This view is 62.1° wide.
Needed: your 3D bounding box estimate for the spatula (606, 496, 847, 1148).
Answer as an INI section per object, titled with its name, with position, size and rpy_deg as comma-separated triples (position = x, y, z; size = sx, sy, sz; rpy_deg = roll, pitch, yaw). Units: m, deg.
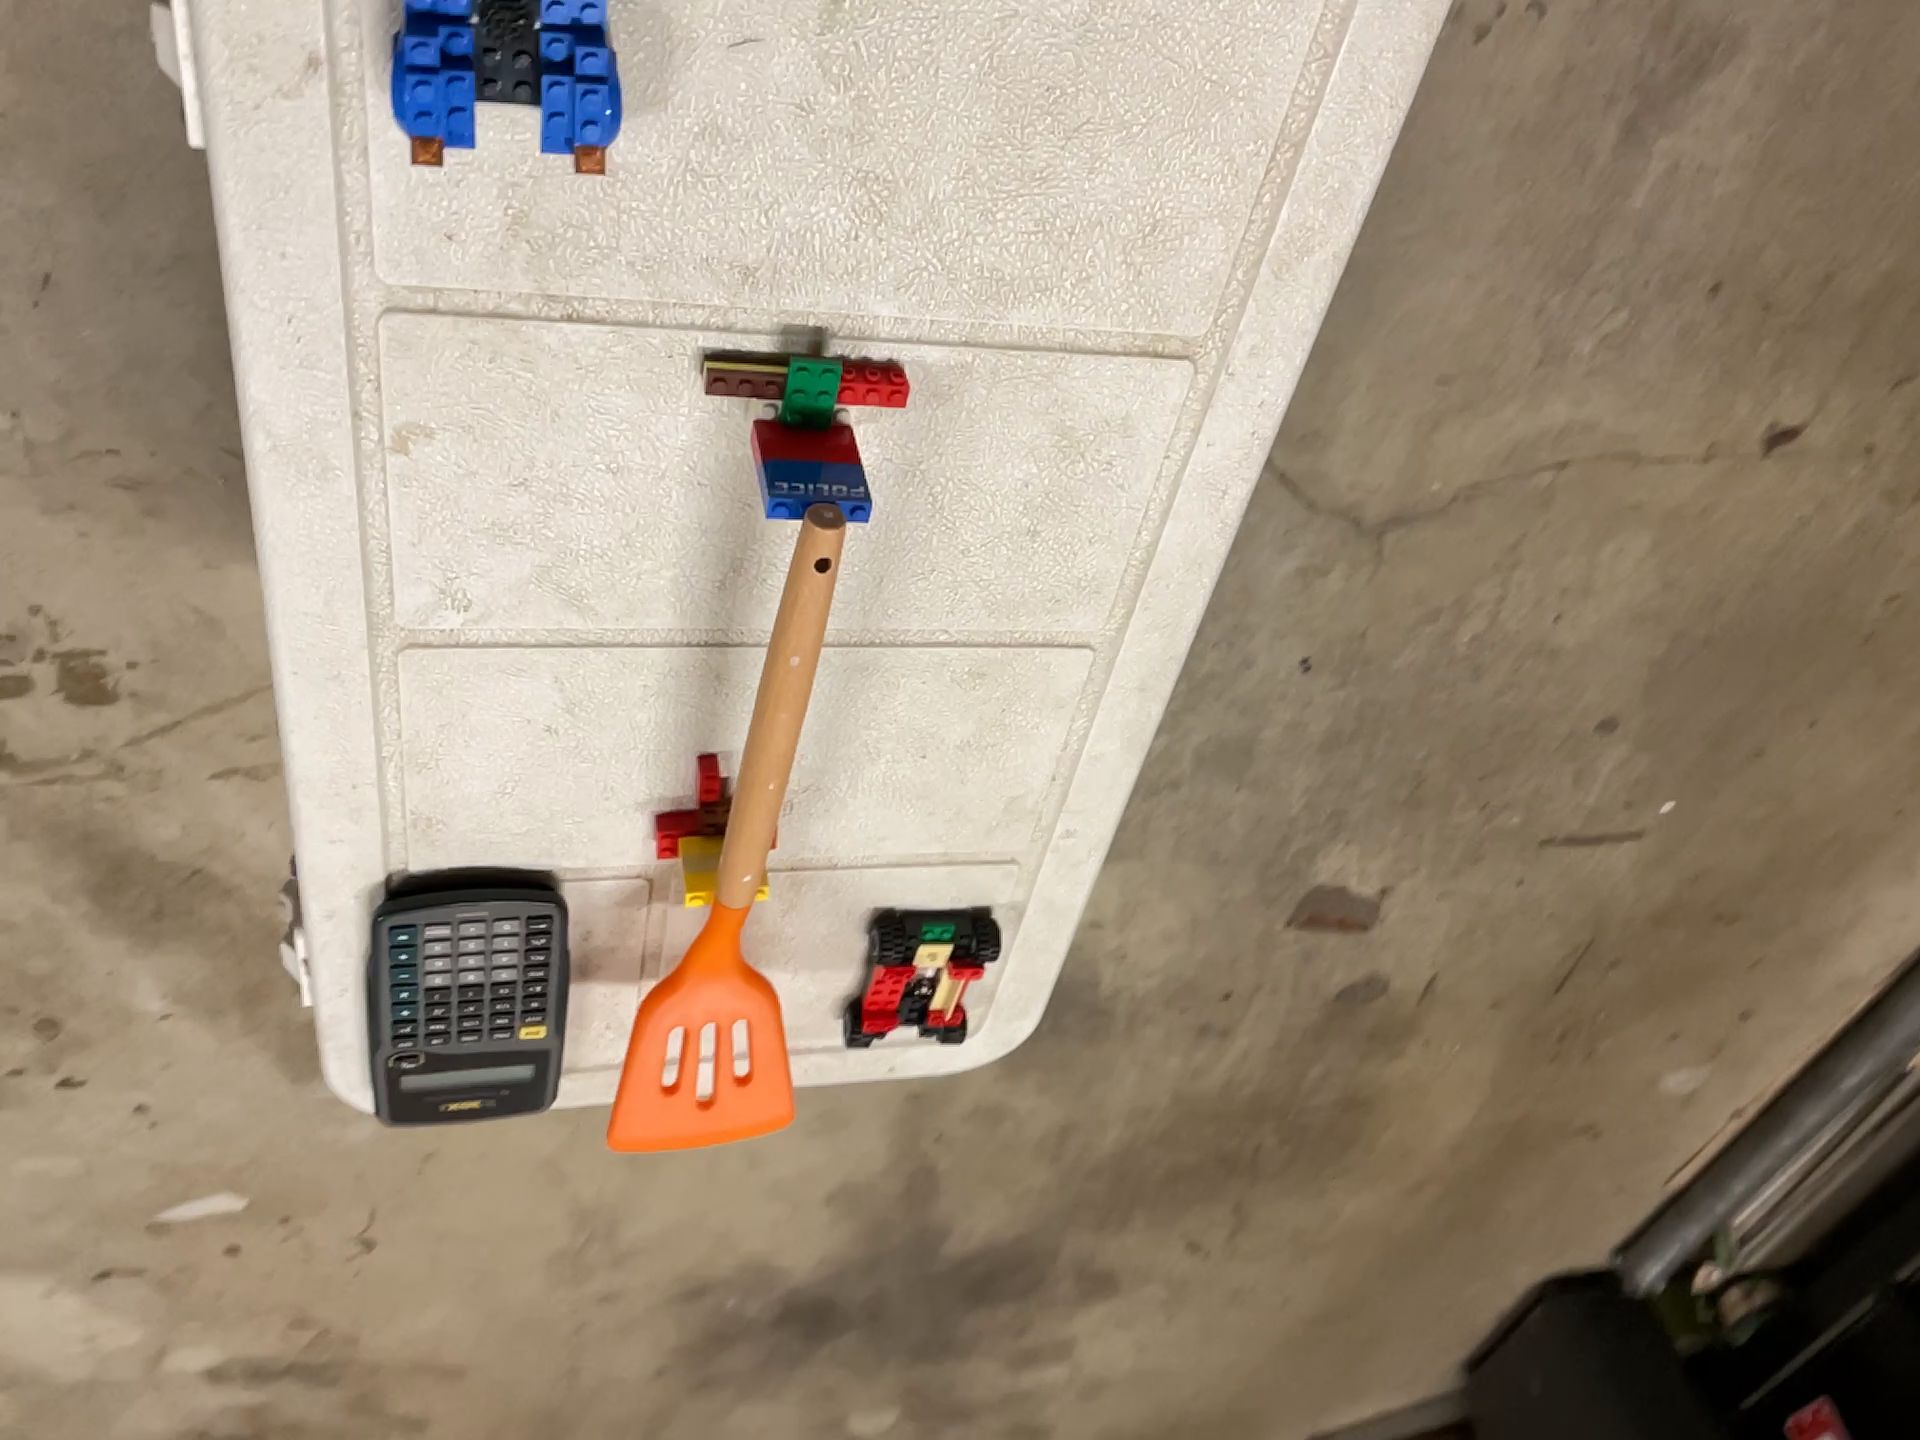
[spatula]
position = -0.076, 0.054, 0.576
size = 0.081, 0.041, 0.322
rpy_deg = -2, 137, -21
